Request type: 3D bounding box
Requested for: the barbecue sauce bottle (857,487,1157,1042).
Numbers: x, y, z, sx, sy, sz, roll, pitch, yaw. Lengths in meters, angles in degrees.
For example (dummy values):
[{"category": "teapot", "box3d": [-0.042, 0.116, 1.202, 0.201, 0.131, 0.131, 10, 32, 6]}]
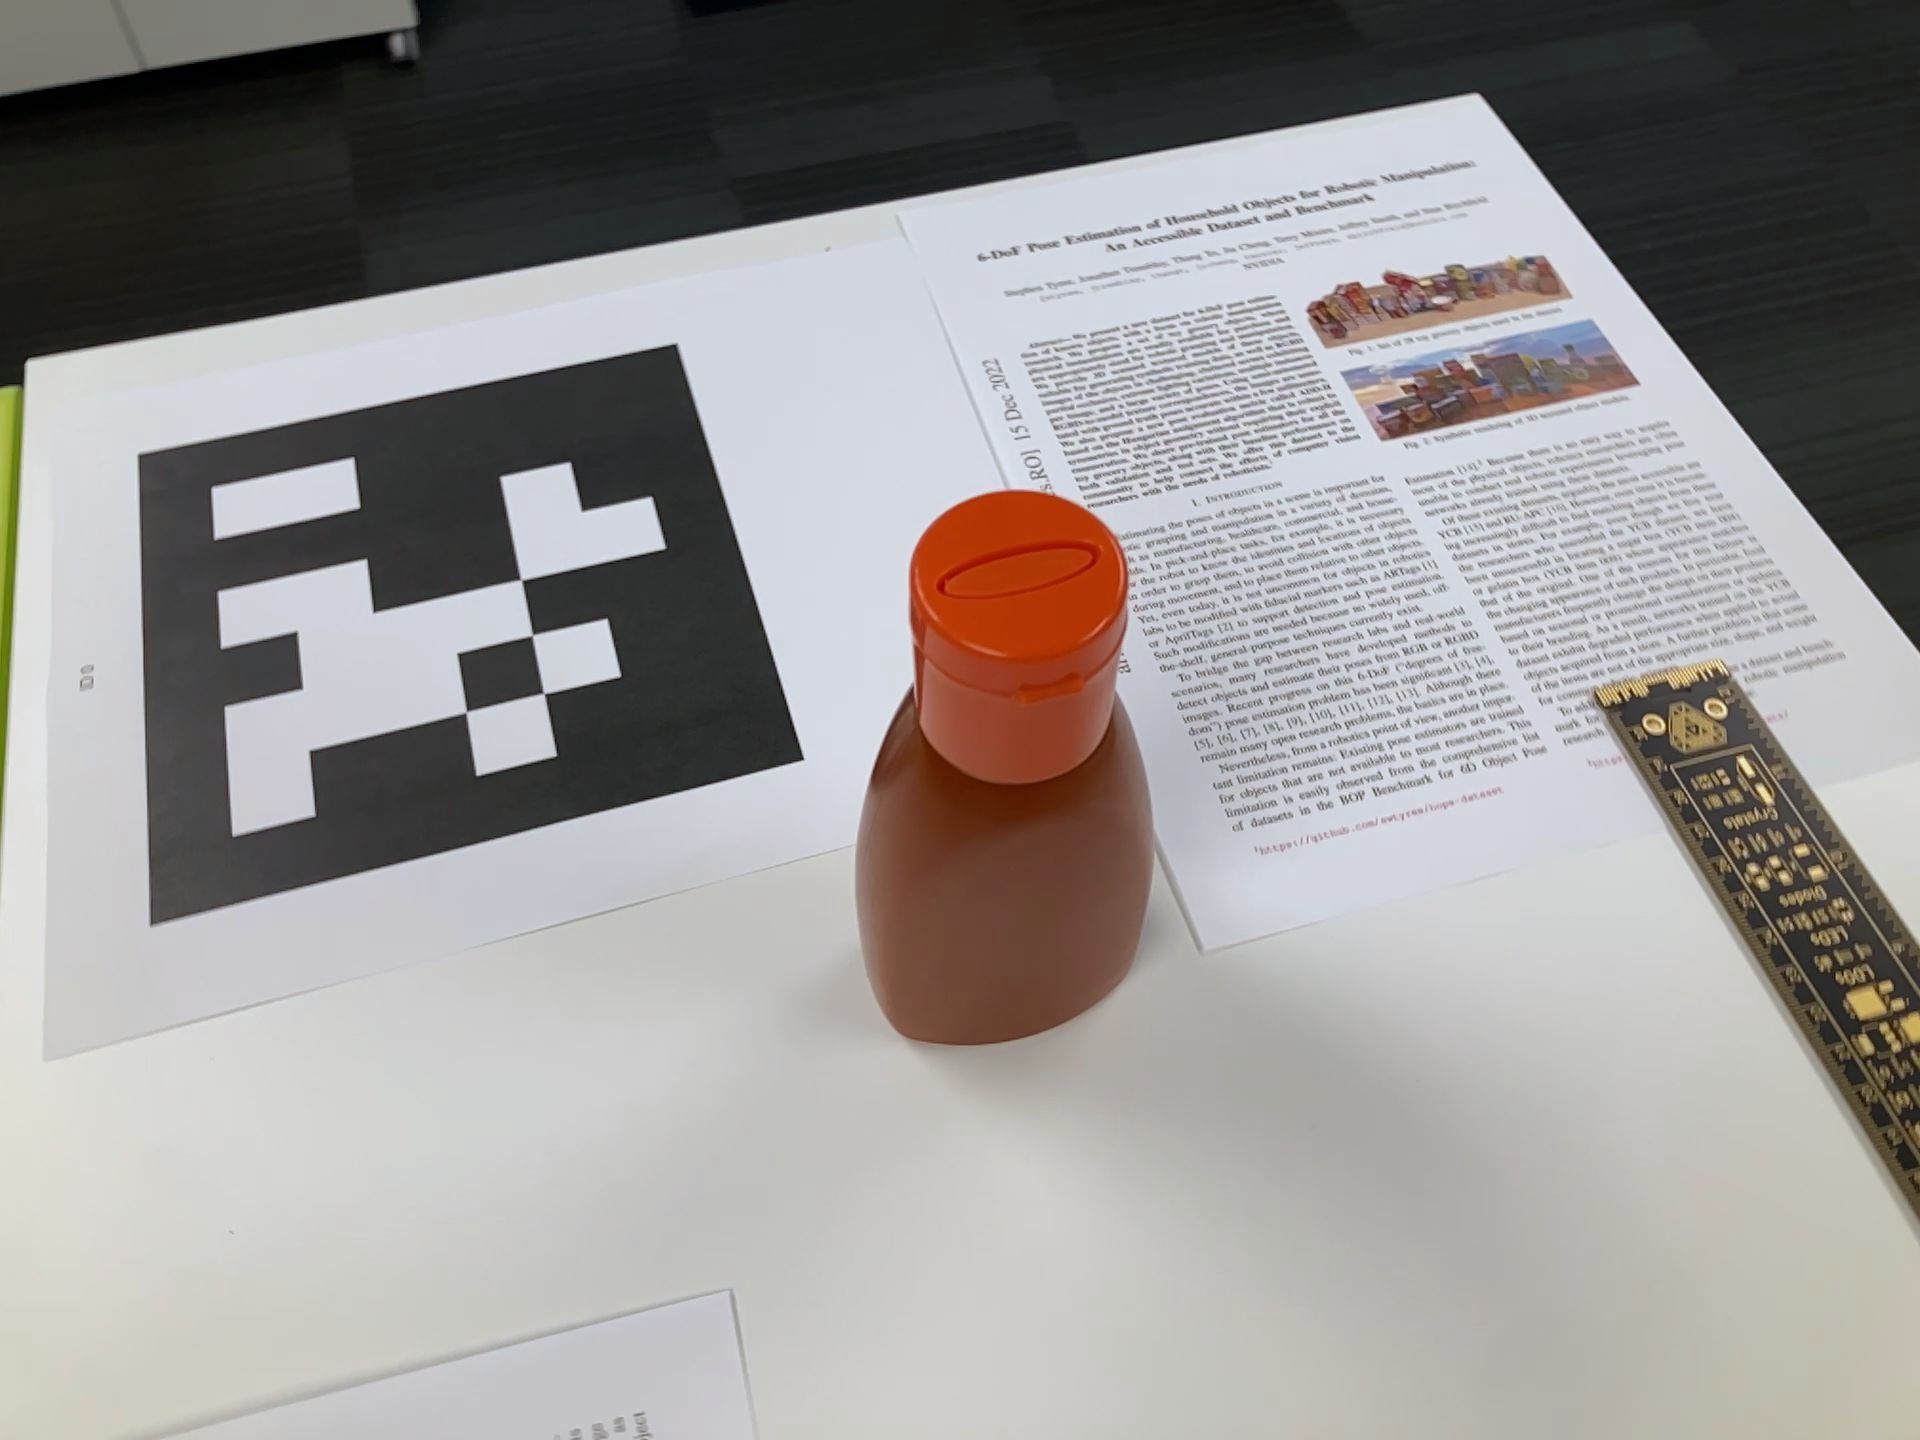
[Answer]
[{"category": "barbecue sauce bottle", "box3d": [0.010, 0.016, 0.319, 0.065, 0.148, 0.043, -13, 58, -8]}]
